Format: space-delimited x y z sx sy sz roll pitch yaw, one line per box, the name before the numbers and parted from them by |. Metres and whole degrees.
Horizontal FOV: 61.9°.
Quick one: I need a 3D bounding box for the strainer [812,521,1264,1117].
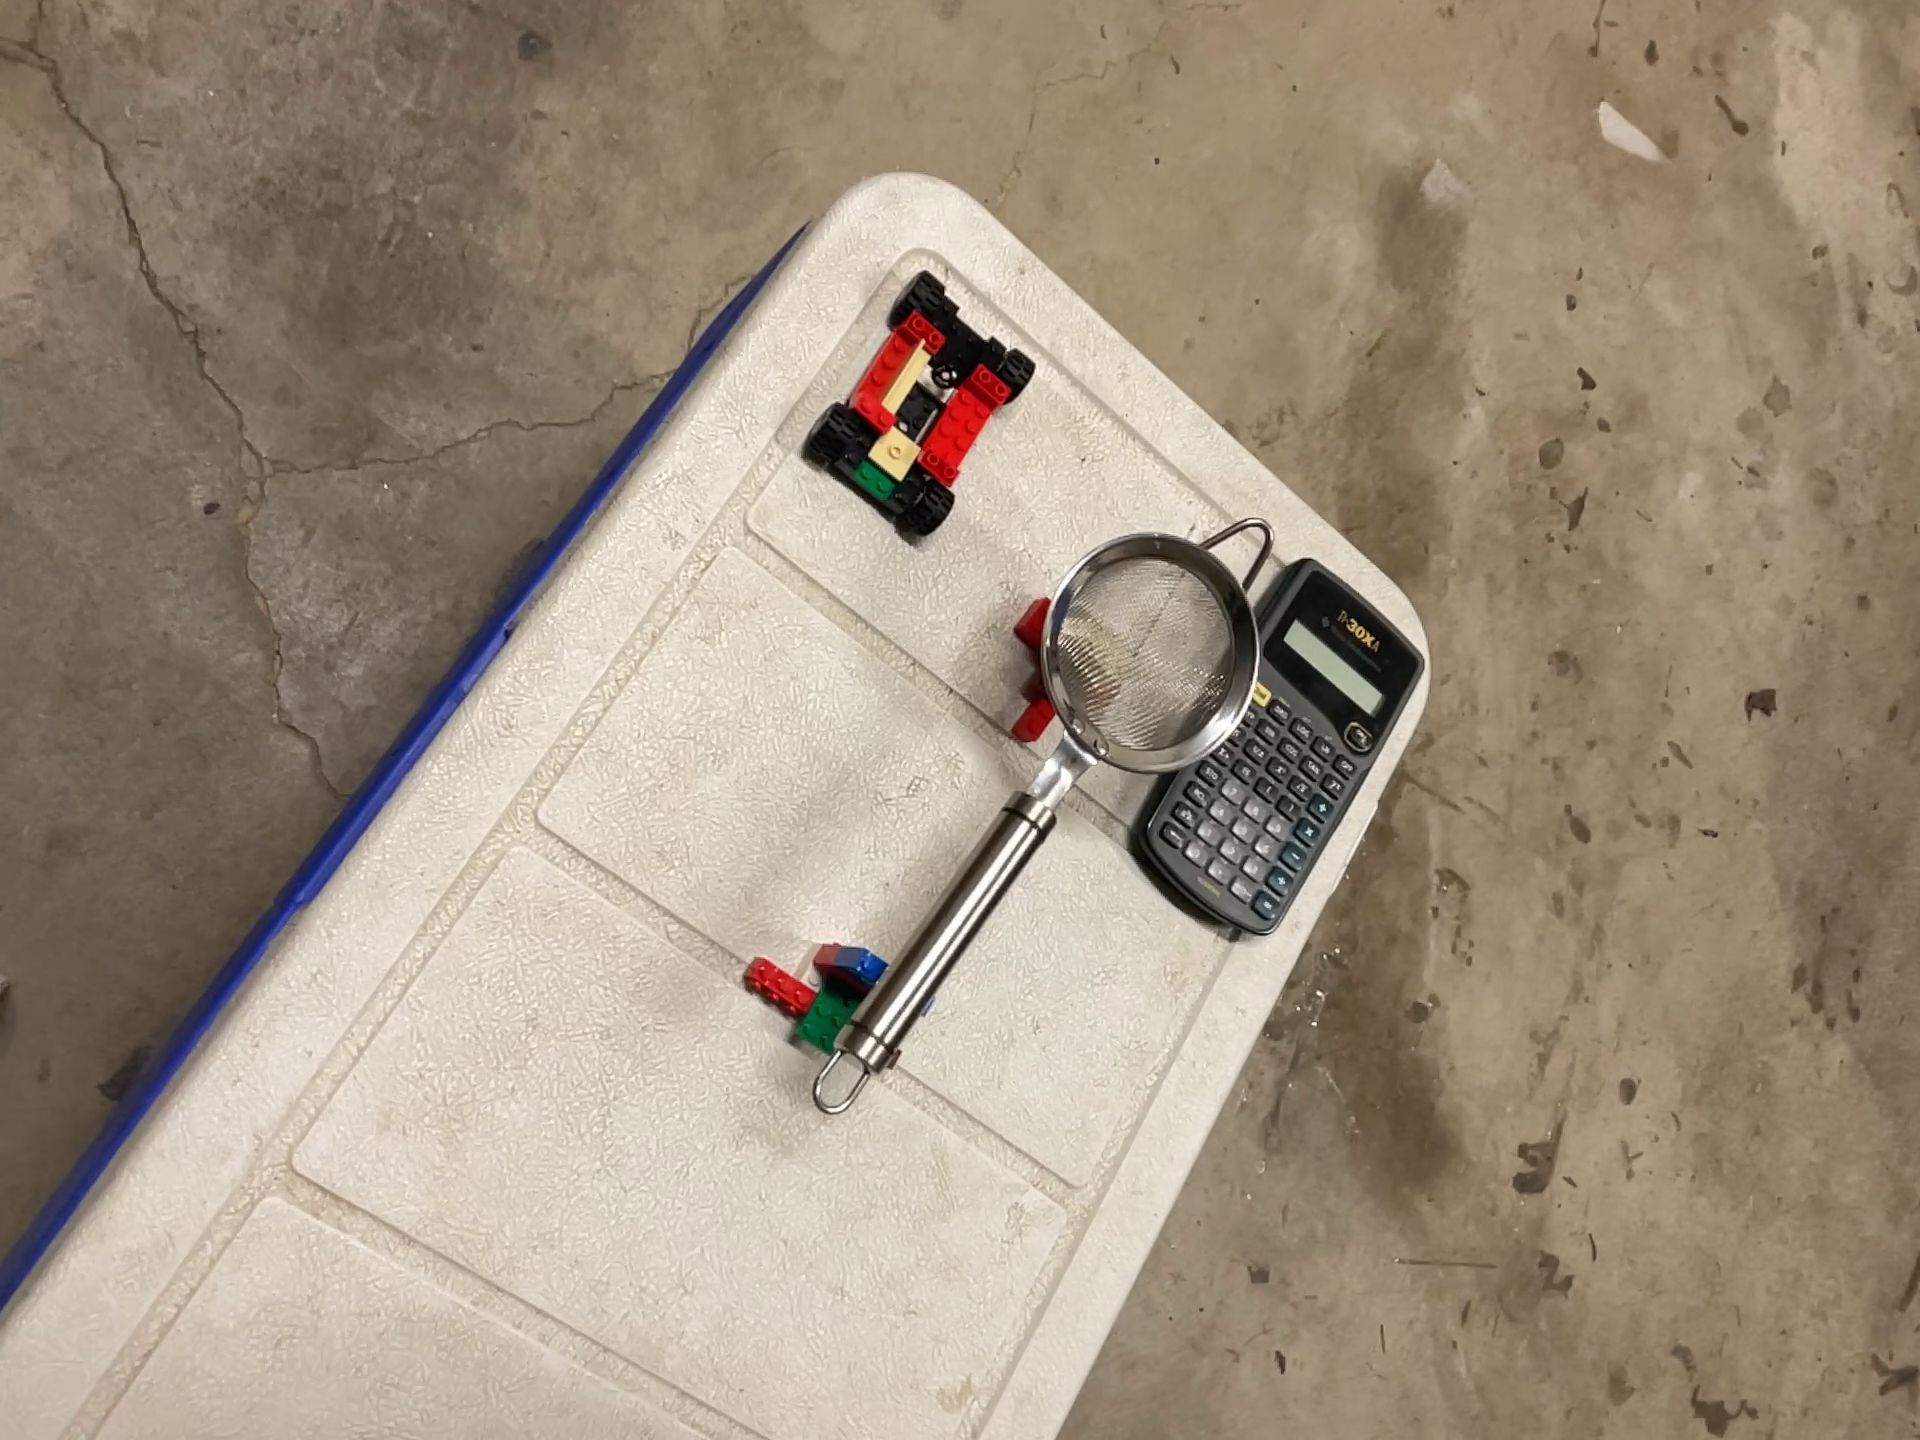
strainer | 0.026 0.029 0.563 0.087 0.050 0.258 42 70 -15
